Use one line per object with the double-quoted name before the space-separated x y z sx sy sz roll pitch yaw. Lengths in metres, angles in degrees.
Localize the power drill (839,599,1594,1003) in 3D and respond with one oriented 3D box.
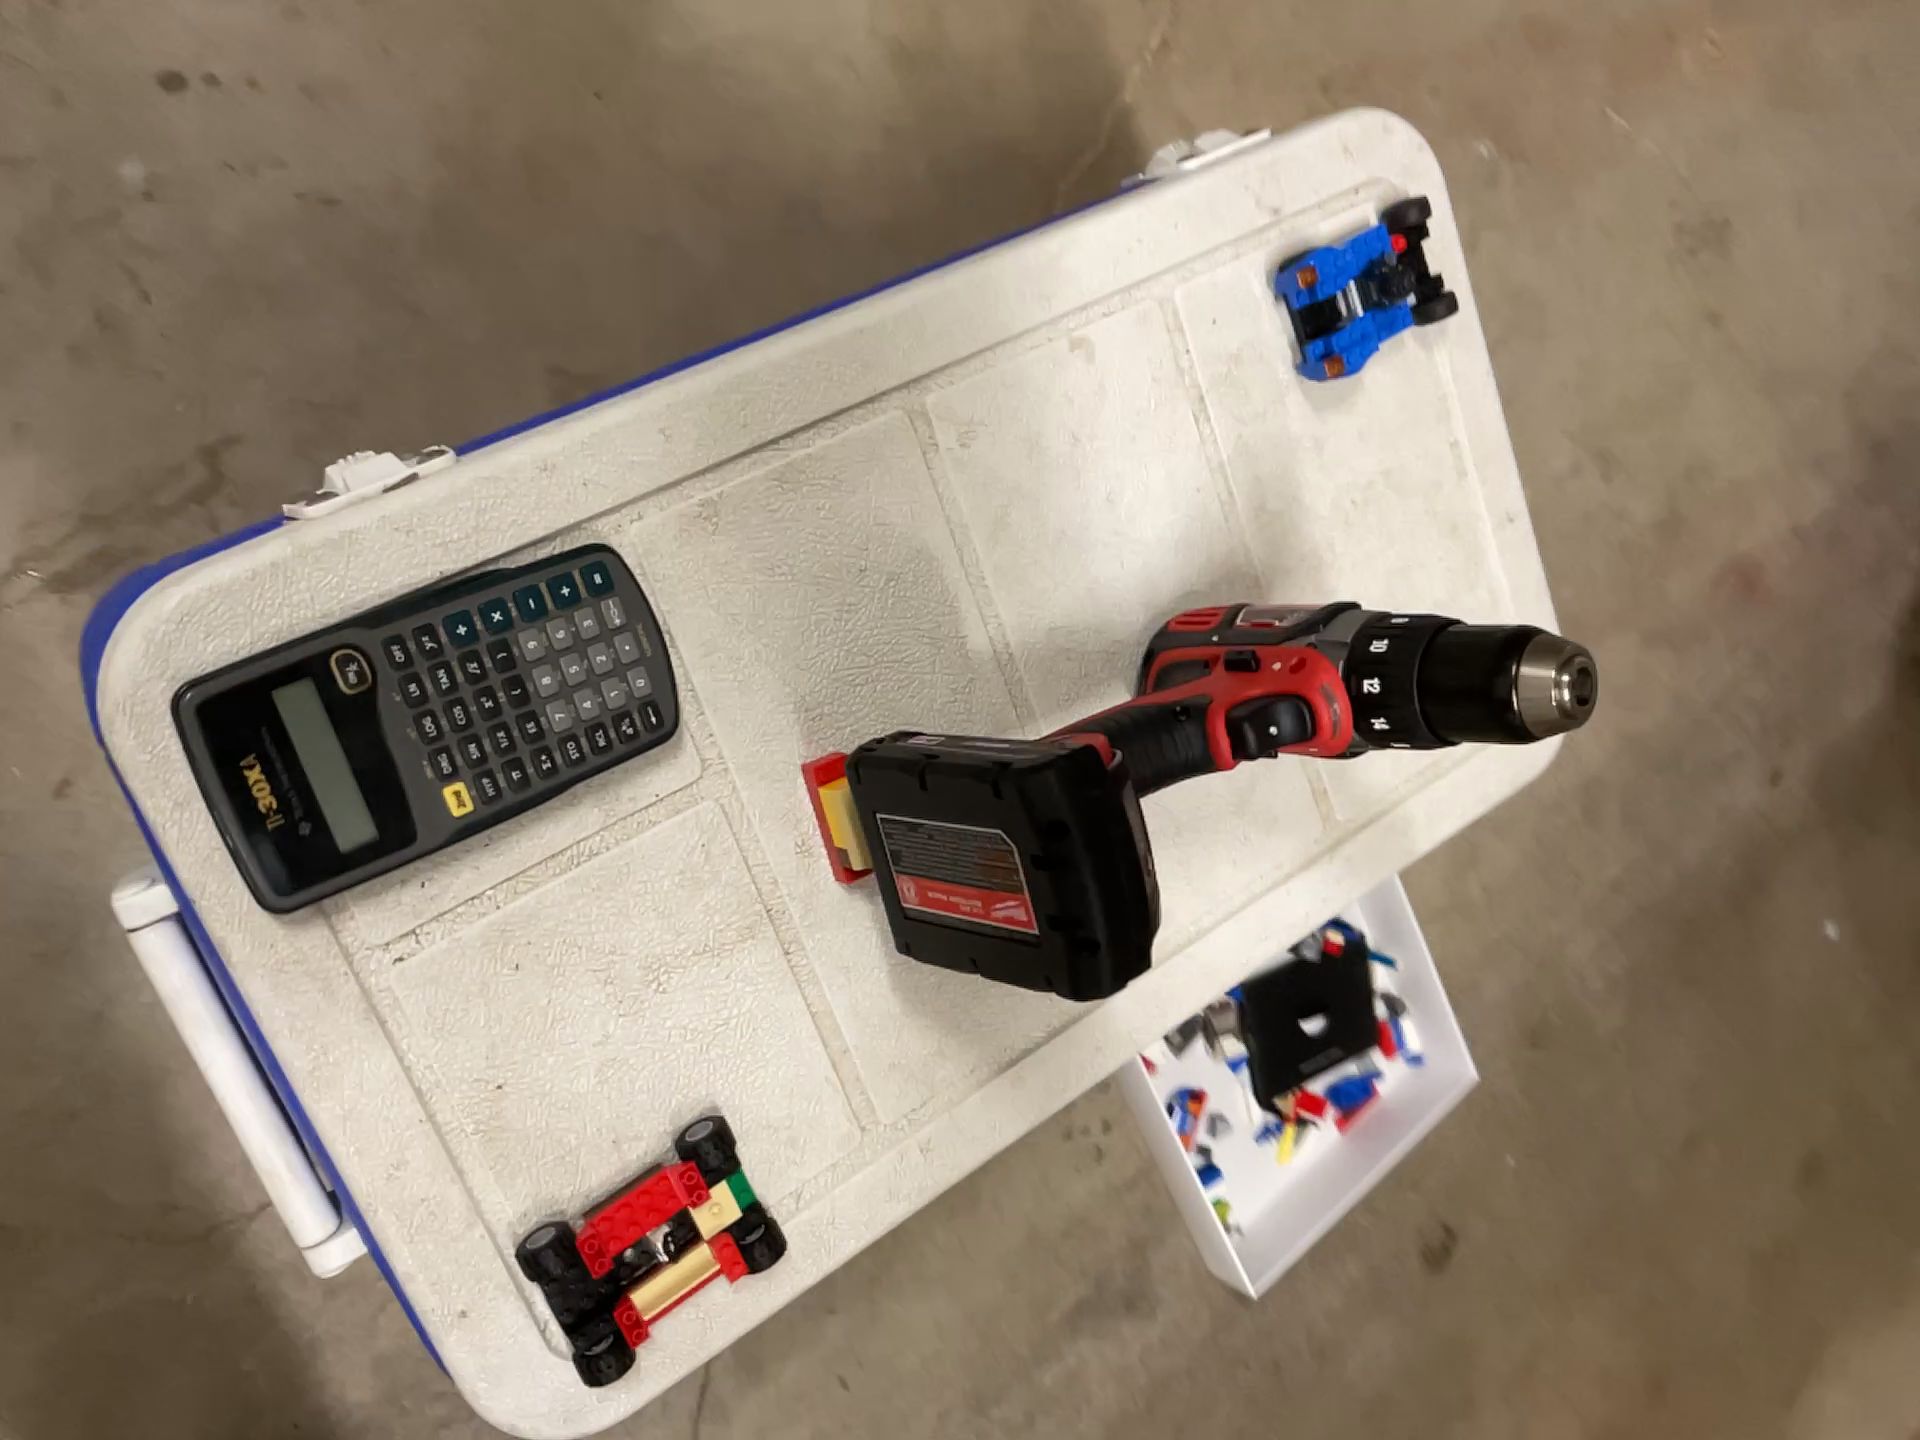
"power drill" 0.093 0.012 0.571 0.227 0.188 0.080 -26 108 -36
